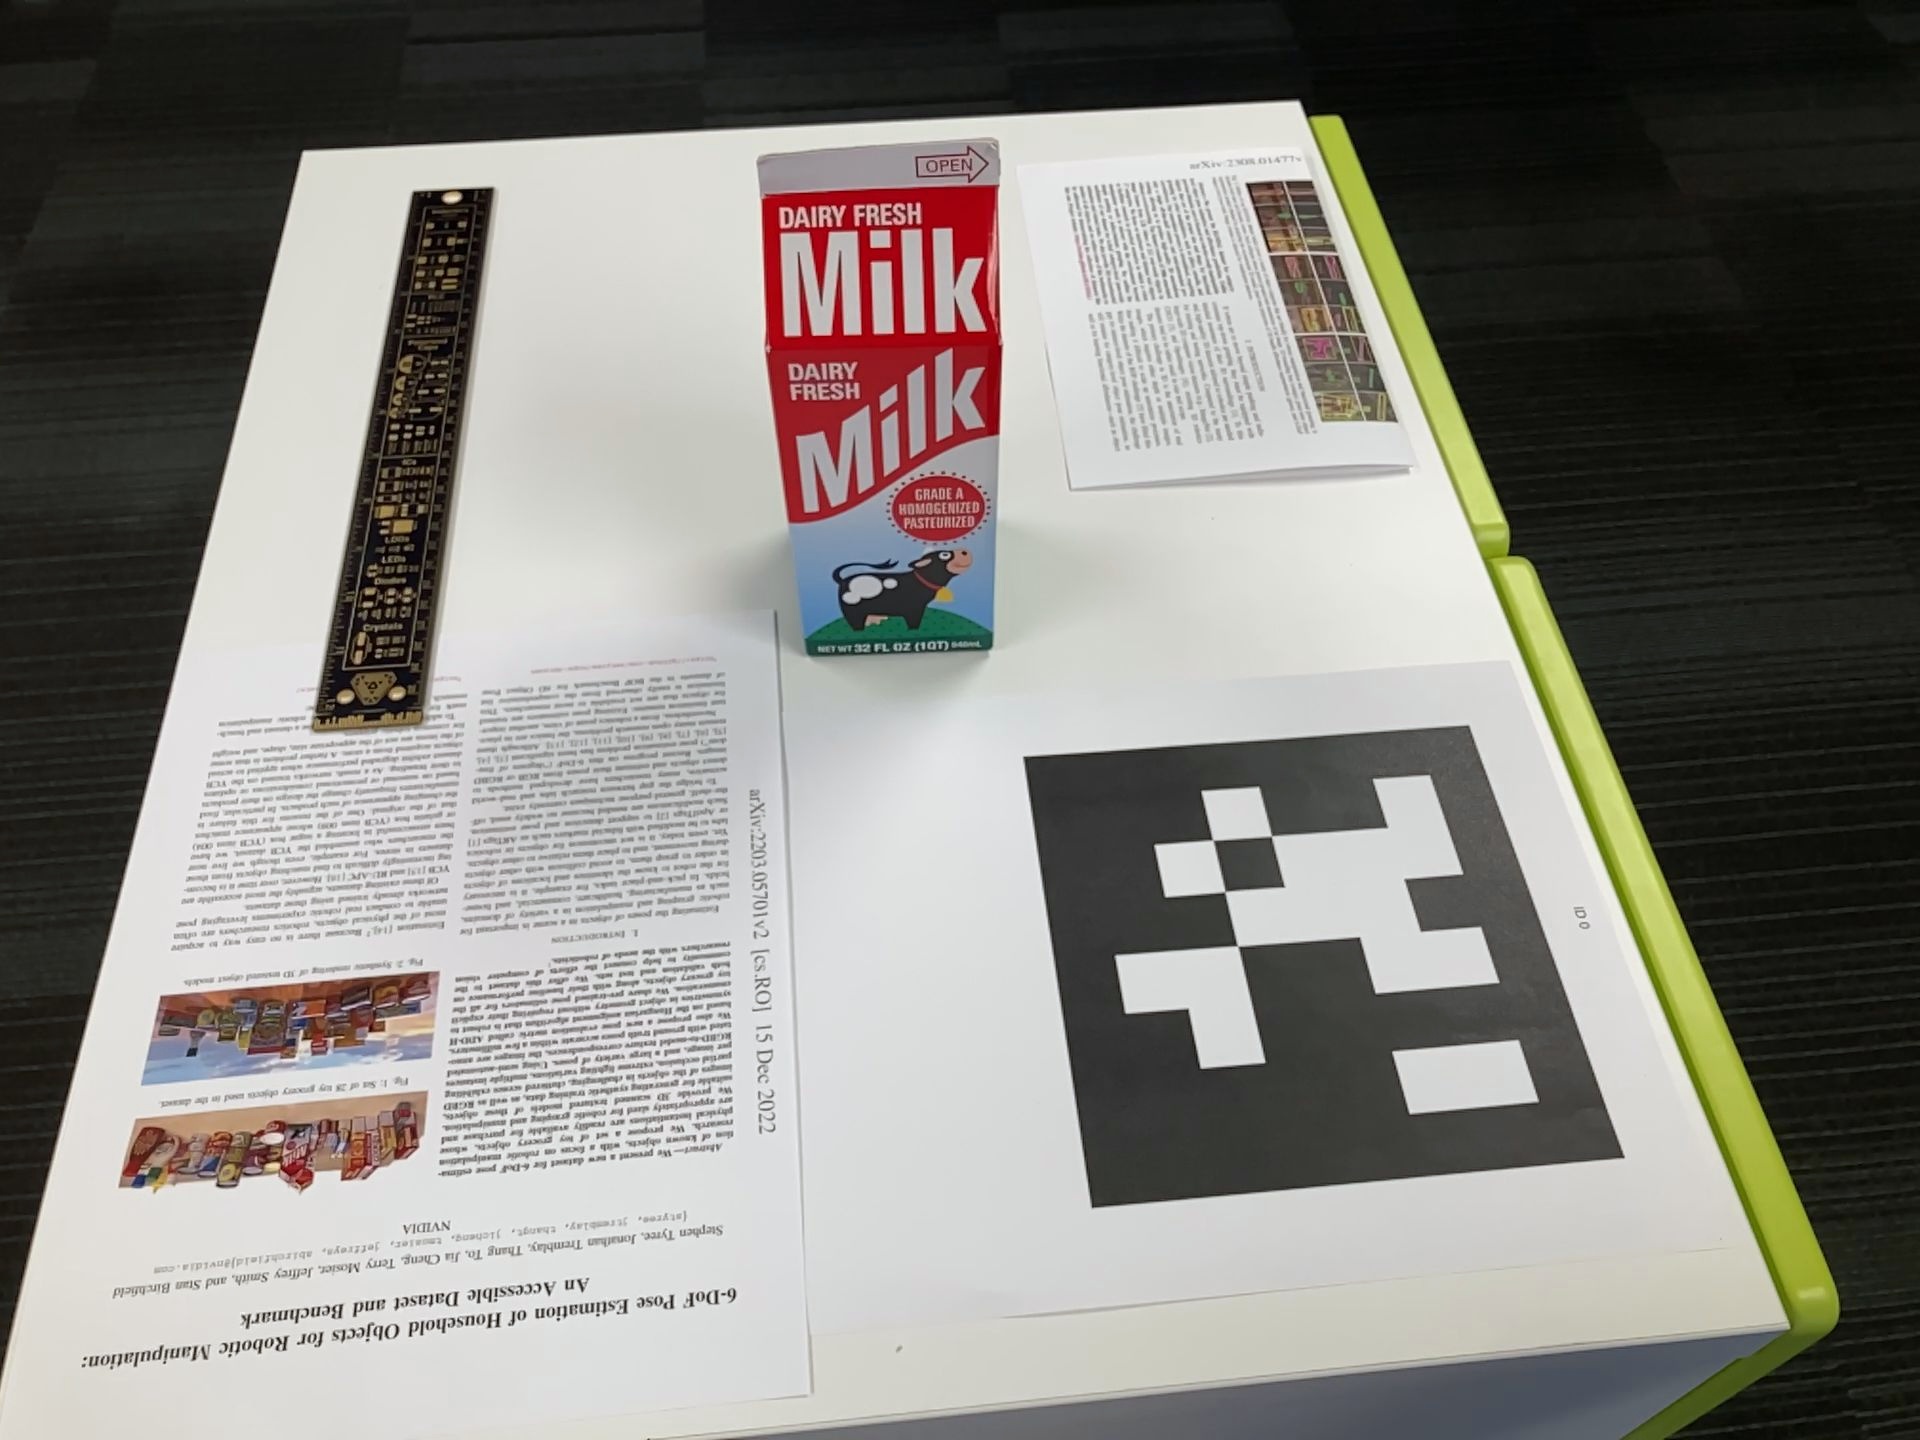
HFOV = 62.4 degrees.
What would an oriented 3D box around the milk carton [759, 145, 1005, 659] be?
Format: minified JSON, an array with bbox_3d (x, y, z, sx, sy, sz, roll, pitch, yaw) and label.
[{"bbox_3d":[-0.023,-0.107,0.528,0.072,0.190,0.073,-2,54,-1],"label":"milk carton"}]
